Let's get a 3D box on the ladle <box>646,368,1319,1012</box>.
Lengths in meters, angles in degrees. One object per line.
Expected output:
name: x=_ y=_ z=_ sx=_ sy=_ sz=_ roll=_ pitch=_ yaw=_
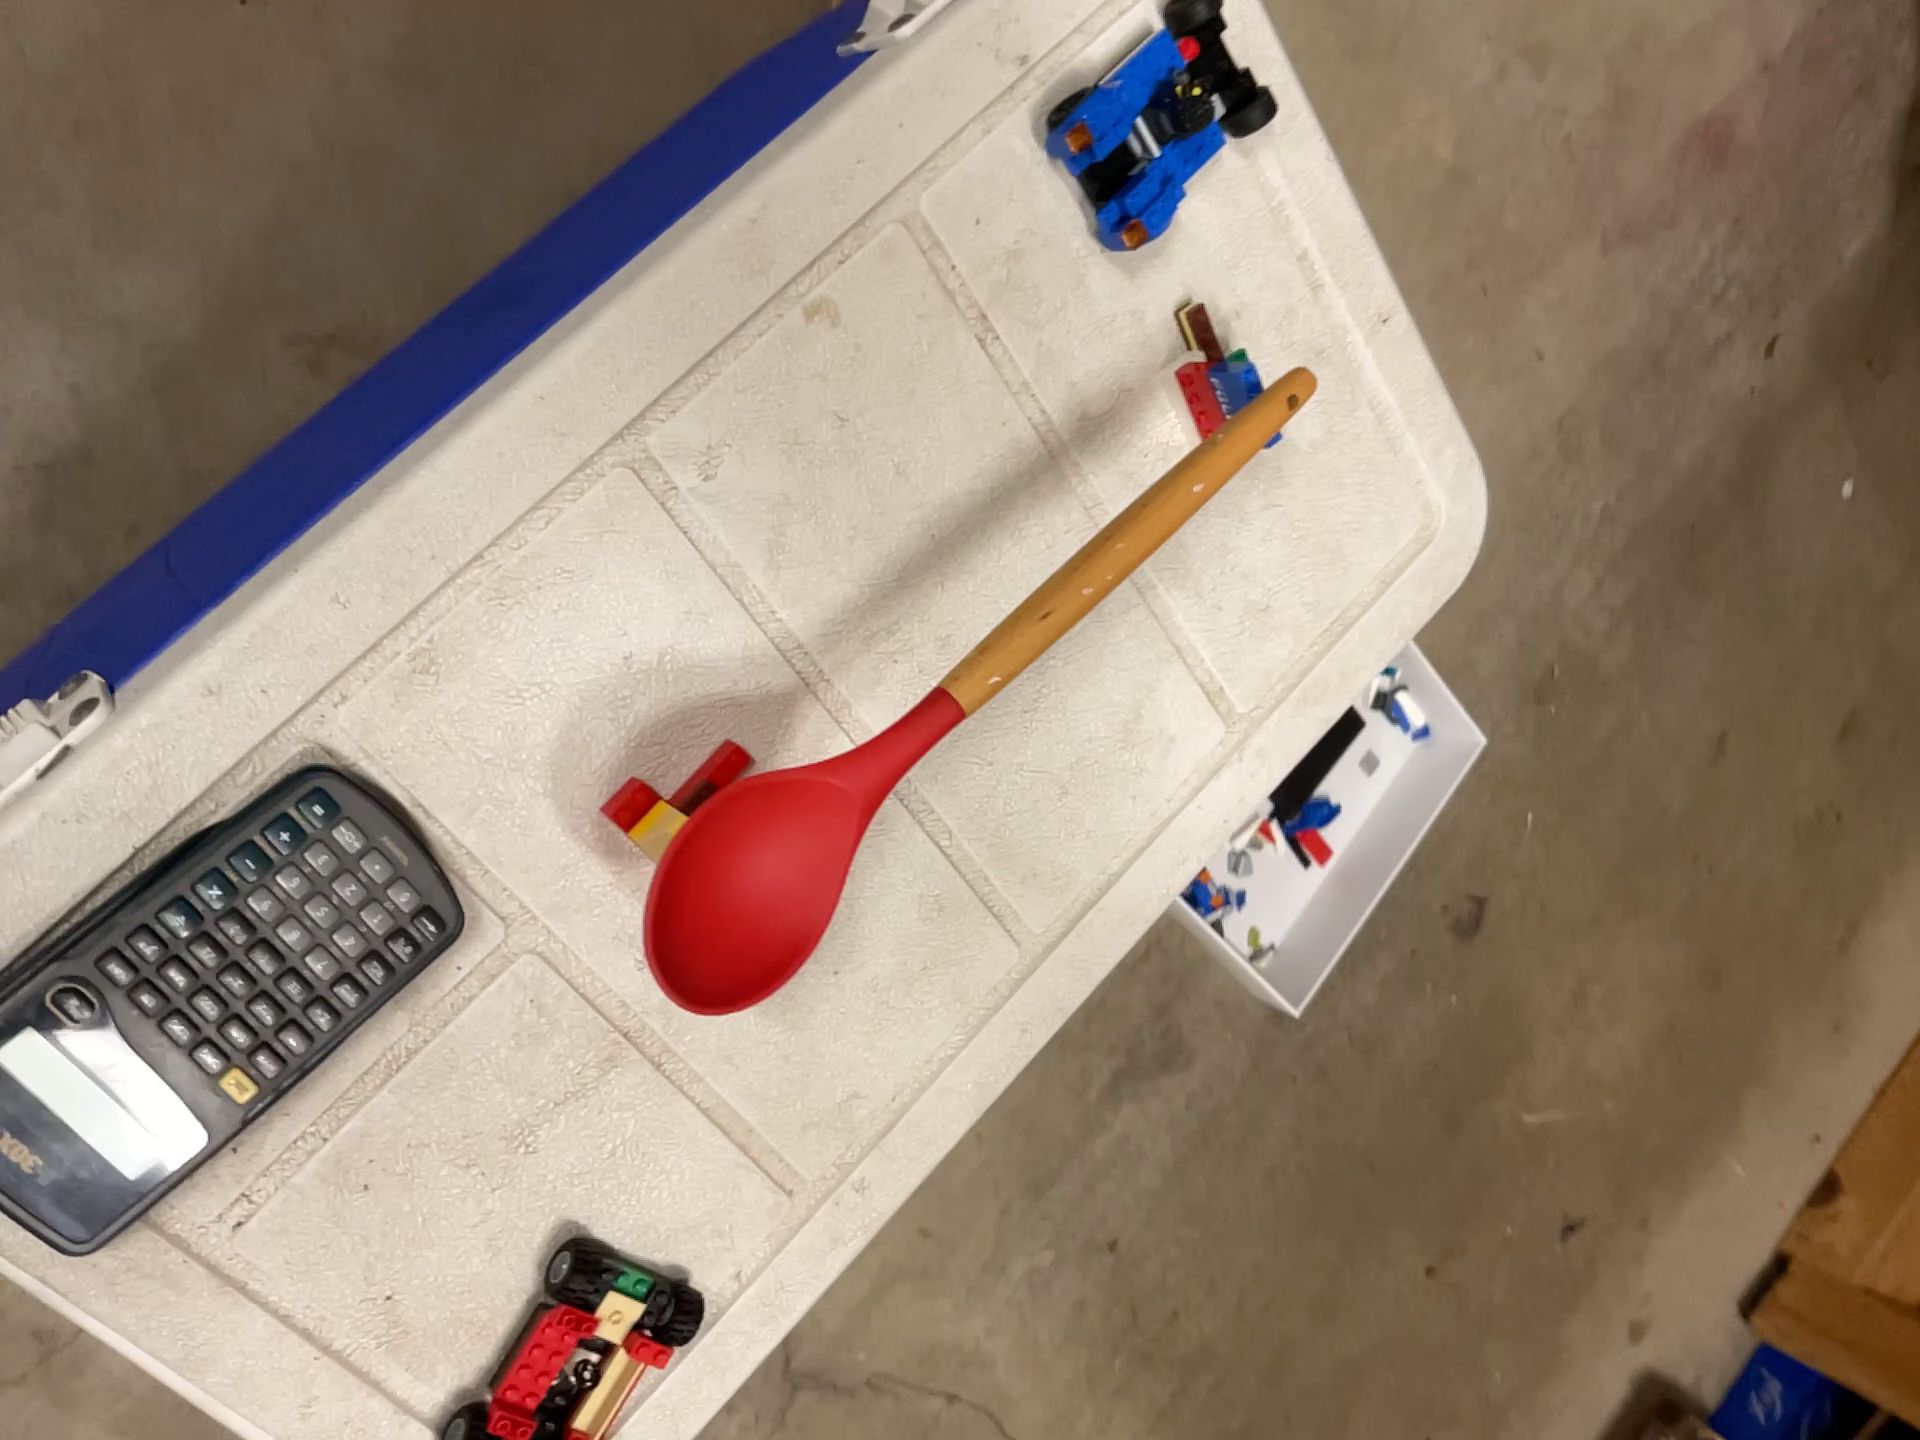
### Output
ladle: x=0.016 y=-0.024 z=0.538 sx=0.315 sy=0.031 sz=0.069 roll=-42 pitch=124 yaw=-17
